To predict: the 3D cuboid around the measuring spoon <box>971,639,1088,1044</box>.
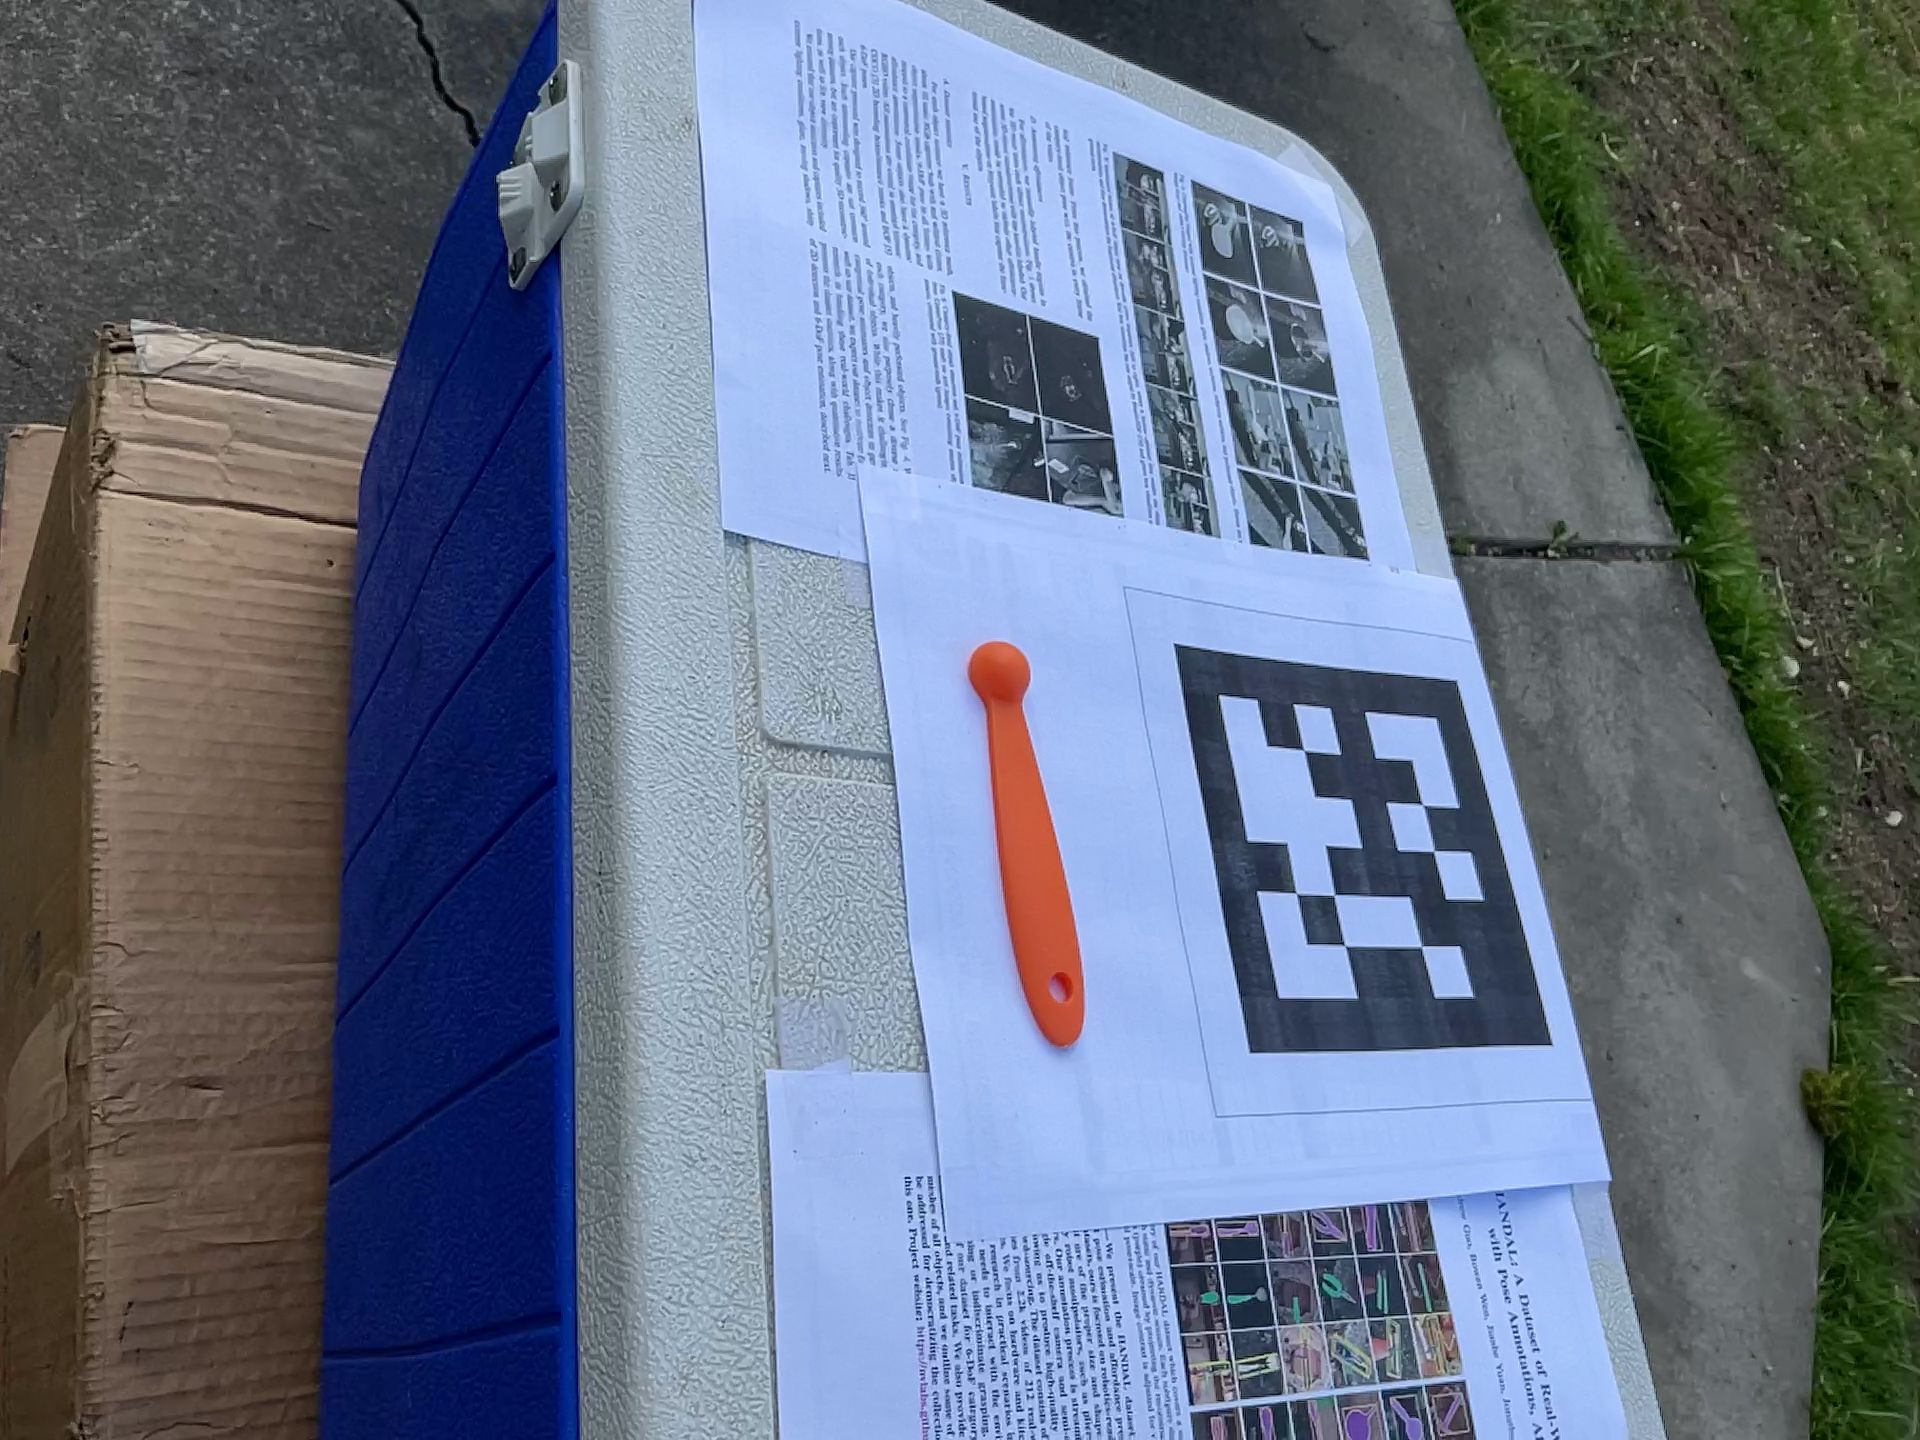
[{"bbox_3d":[0.021,0.030,0.444,0.021,0.011,0.117,2,69,-29],"label":"measuring spoon"}]
